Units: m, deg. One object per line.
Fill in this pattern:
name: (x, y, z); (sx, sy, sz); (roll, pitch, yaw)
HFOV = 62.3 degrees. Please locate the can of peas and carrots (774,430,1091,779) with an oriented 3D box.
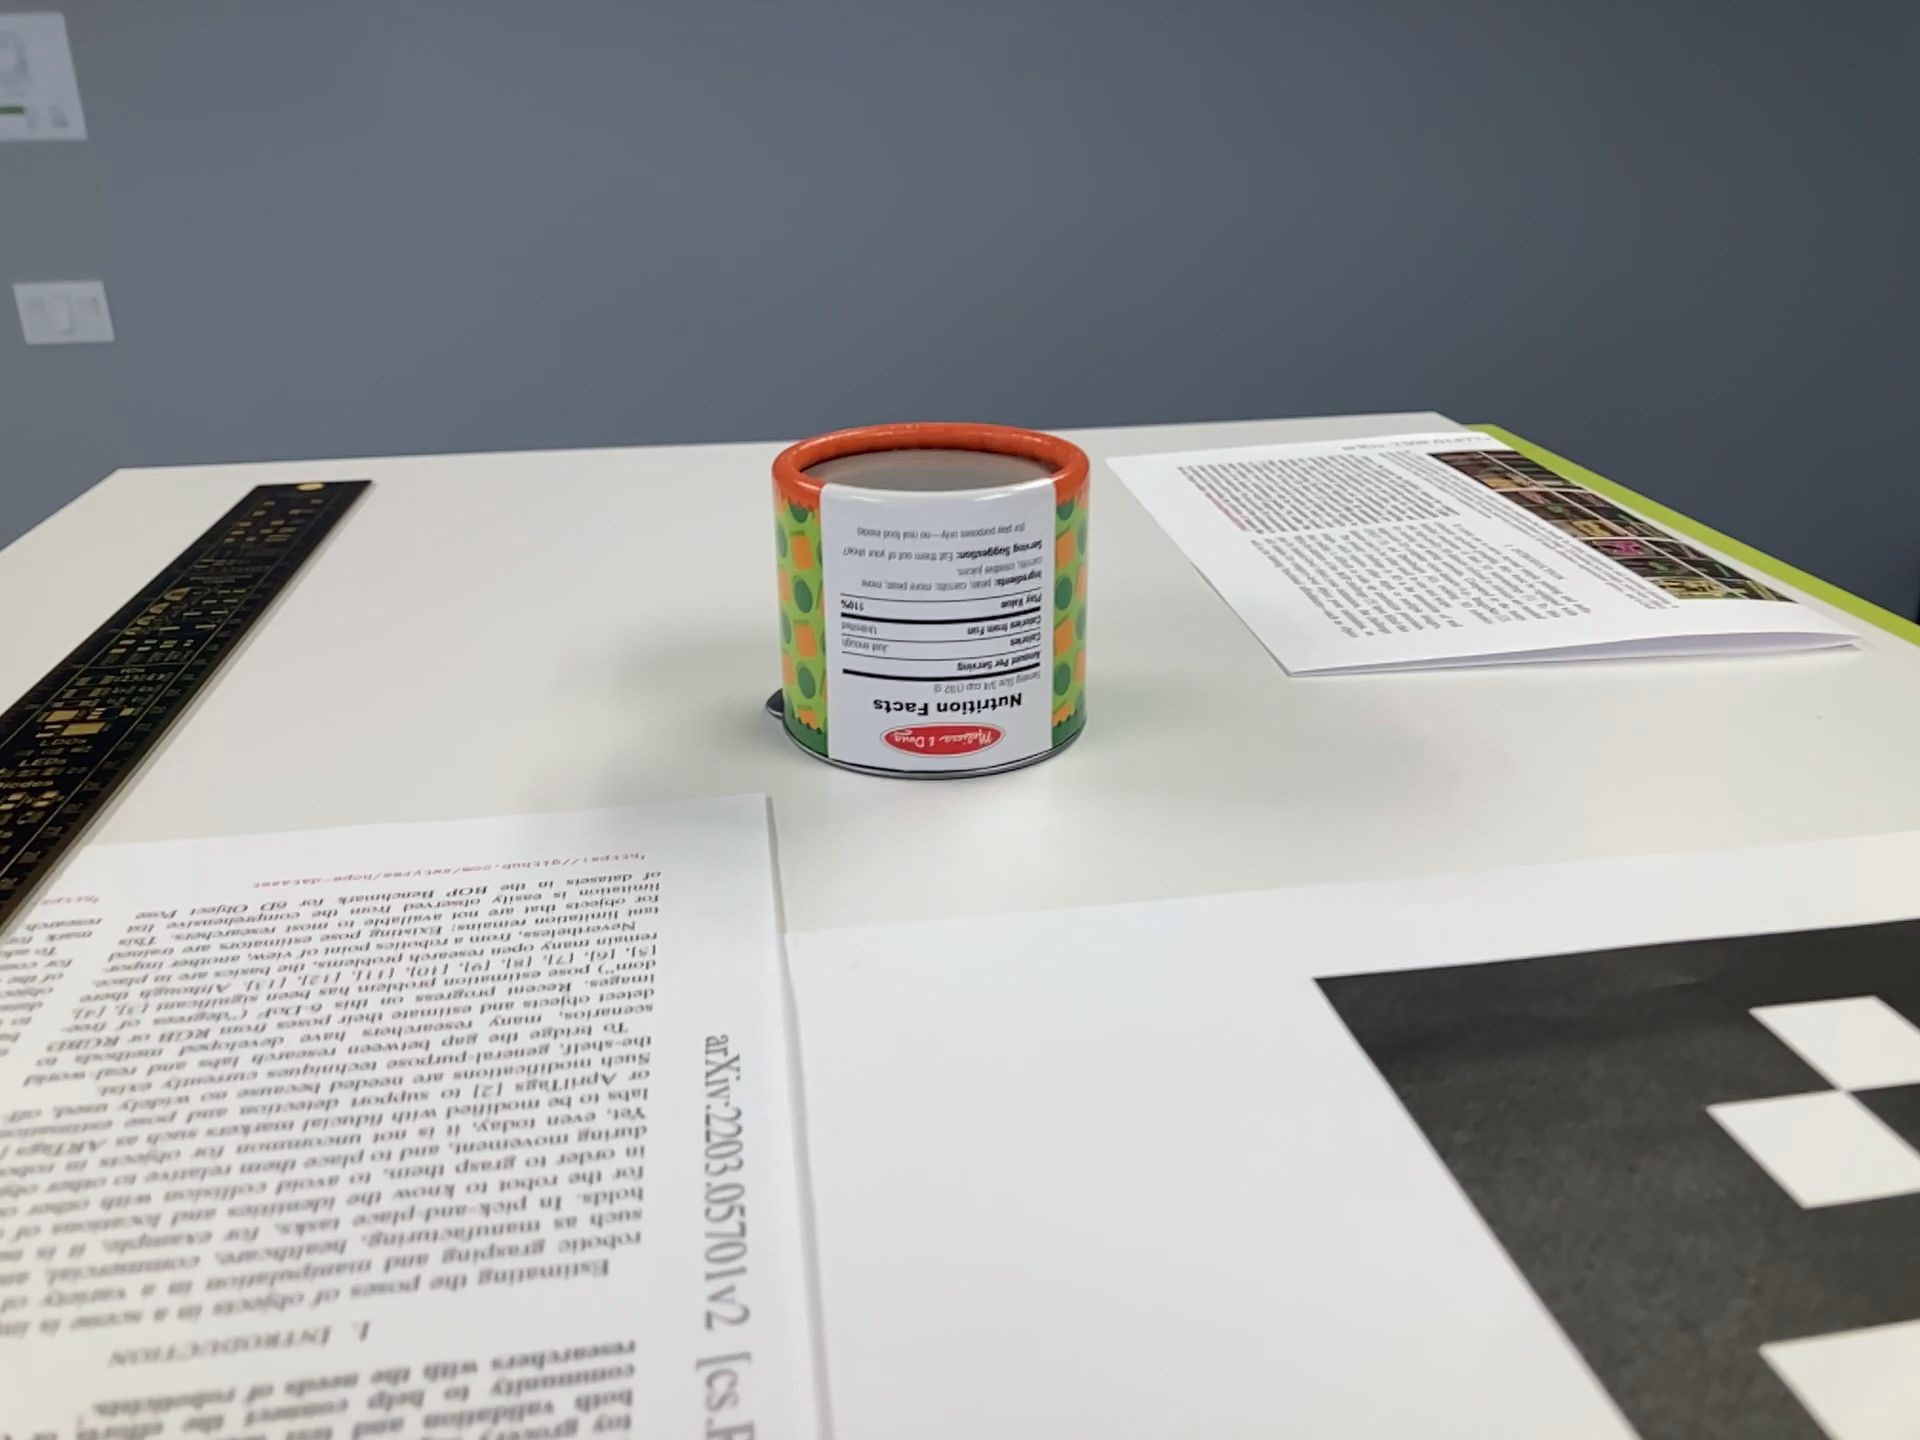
can of peas and carrots: (-0.006, -0.028, 0.339); (0.071, 0.059, 0.071); (0, 22, 0)
